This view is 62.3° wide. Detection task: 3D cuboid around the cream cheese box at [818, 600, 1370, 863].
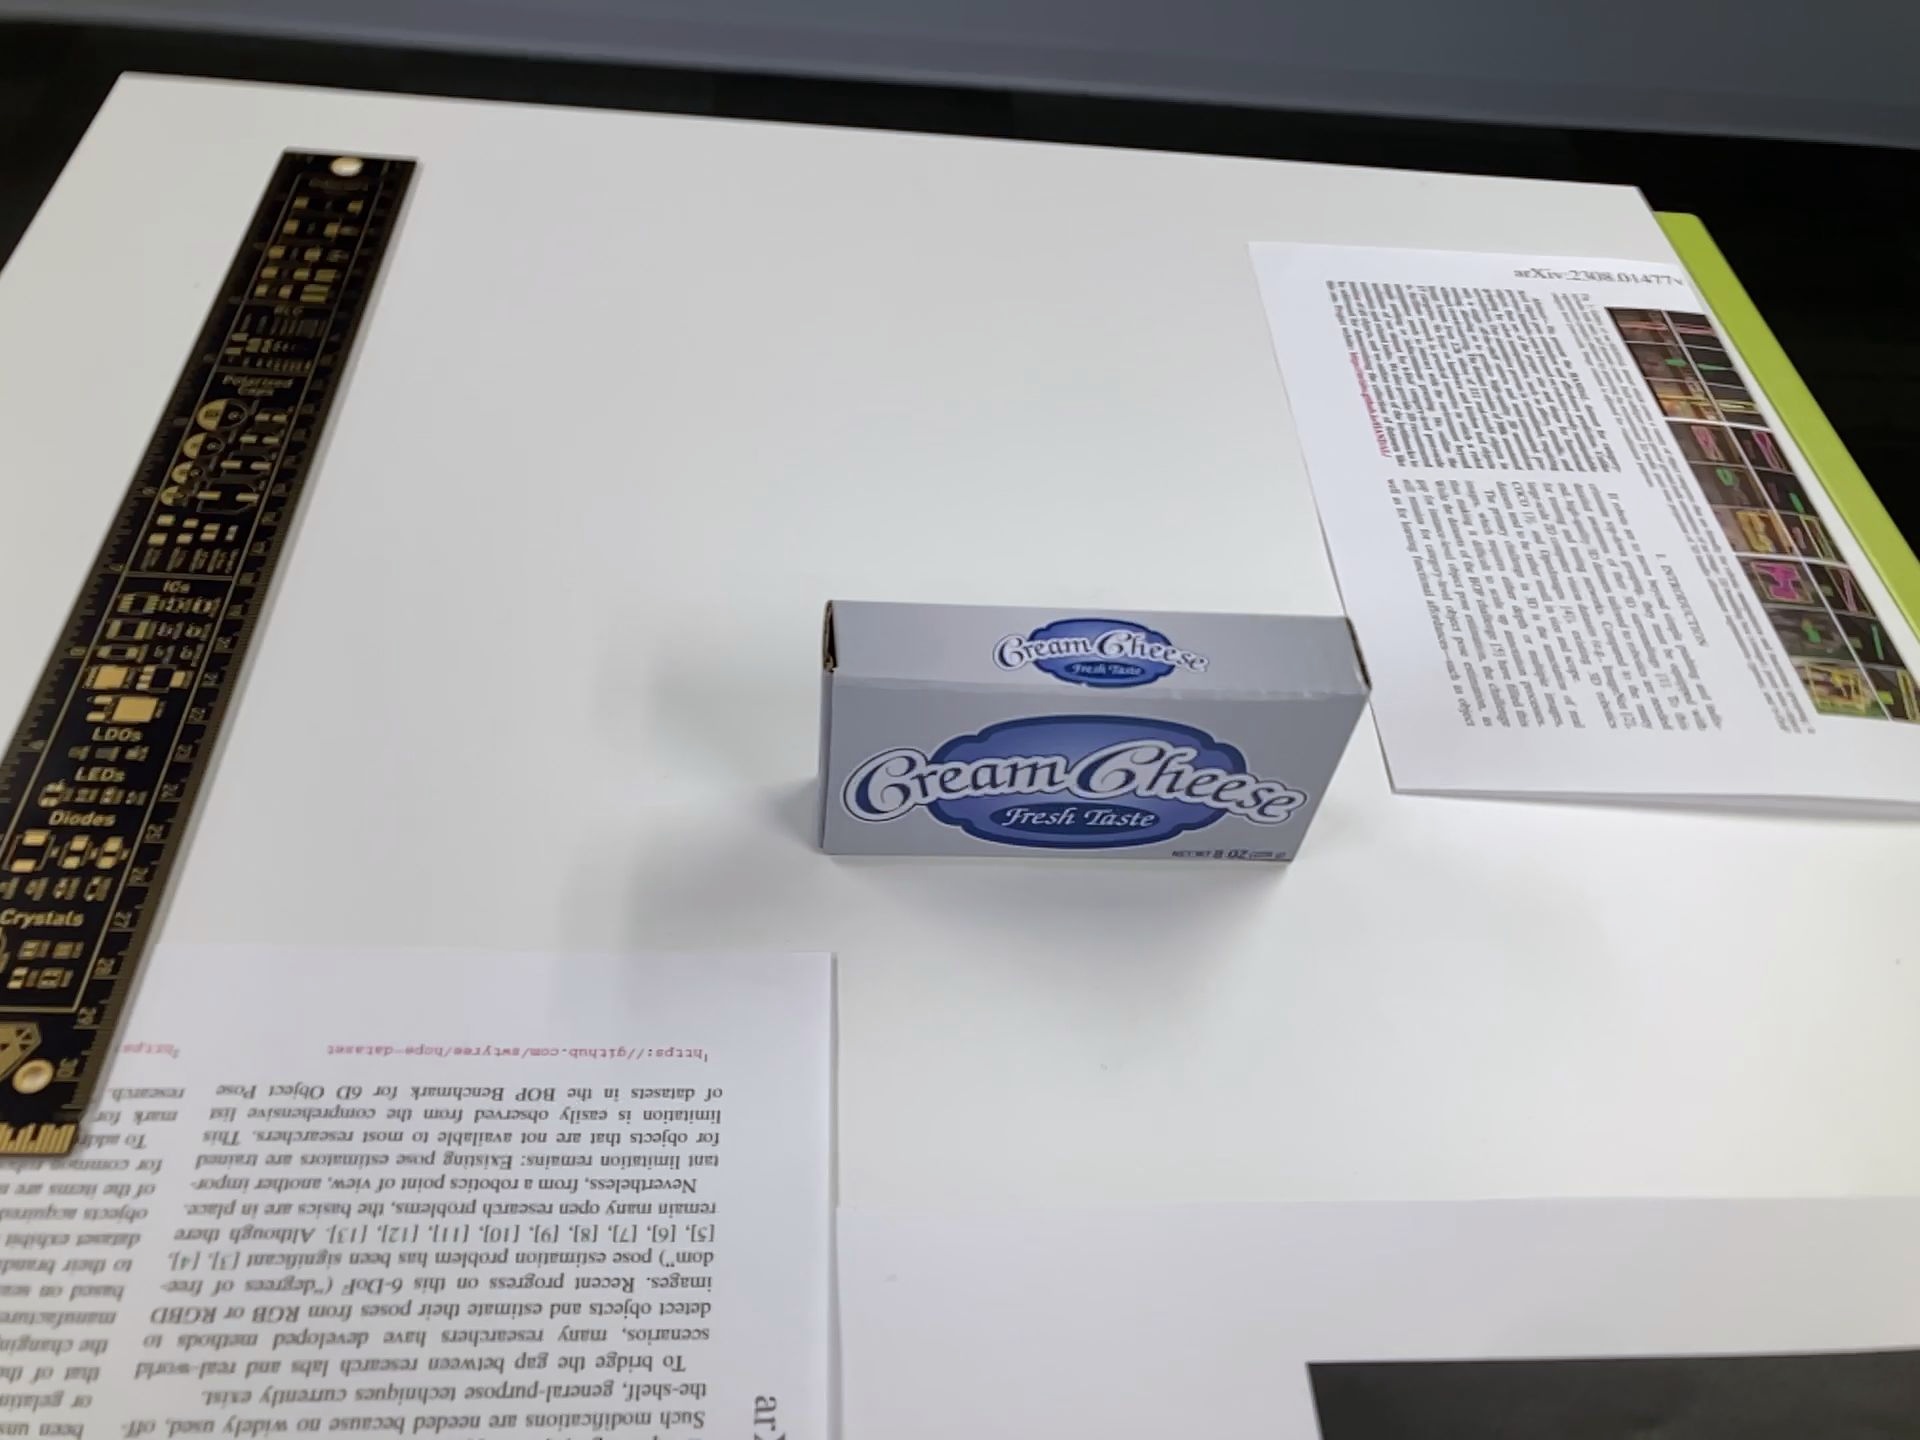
[{"bbox_3d":[0.024,0.004,0.319,0.104,0.053,0.024,2,47,-7],"label":"cream cheese box"}]
